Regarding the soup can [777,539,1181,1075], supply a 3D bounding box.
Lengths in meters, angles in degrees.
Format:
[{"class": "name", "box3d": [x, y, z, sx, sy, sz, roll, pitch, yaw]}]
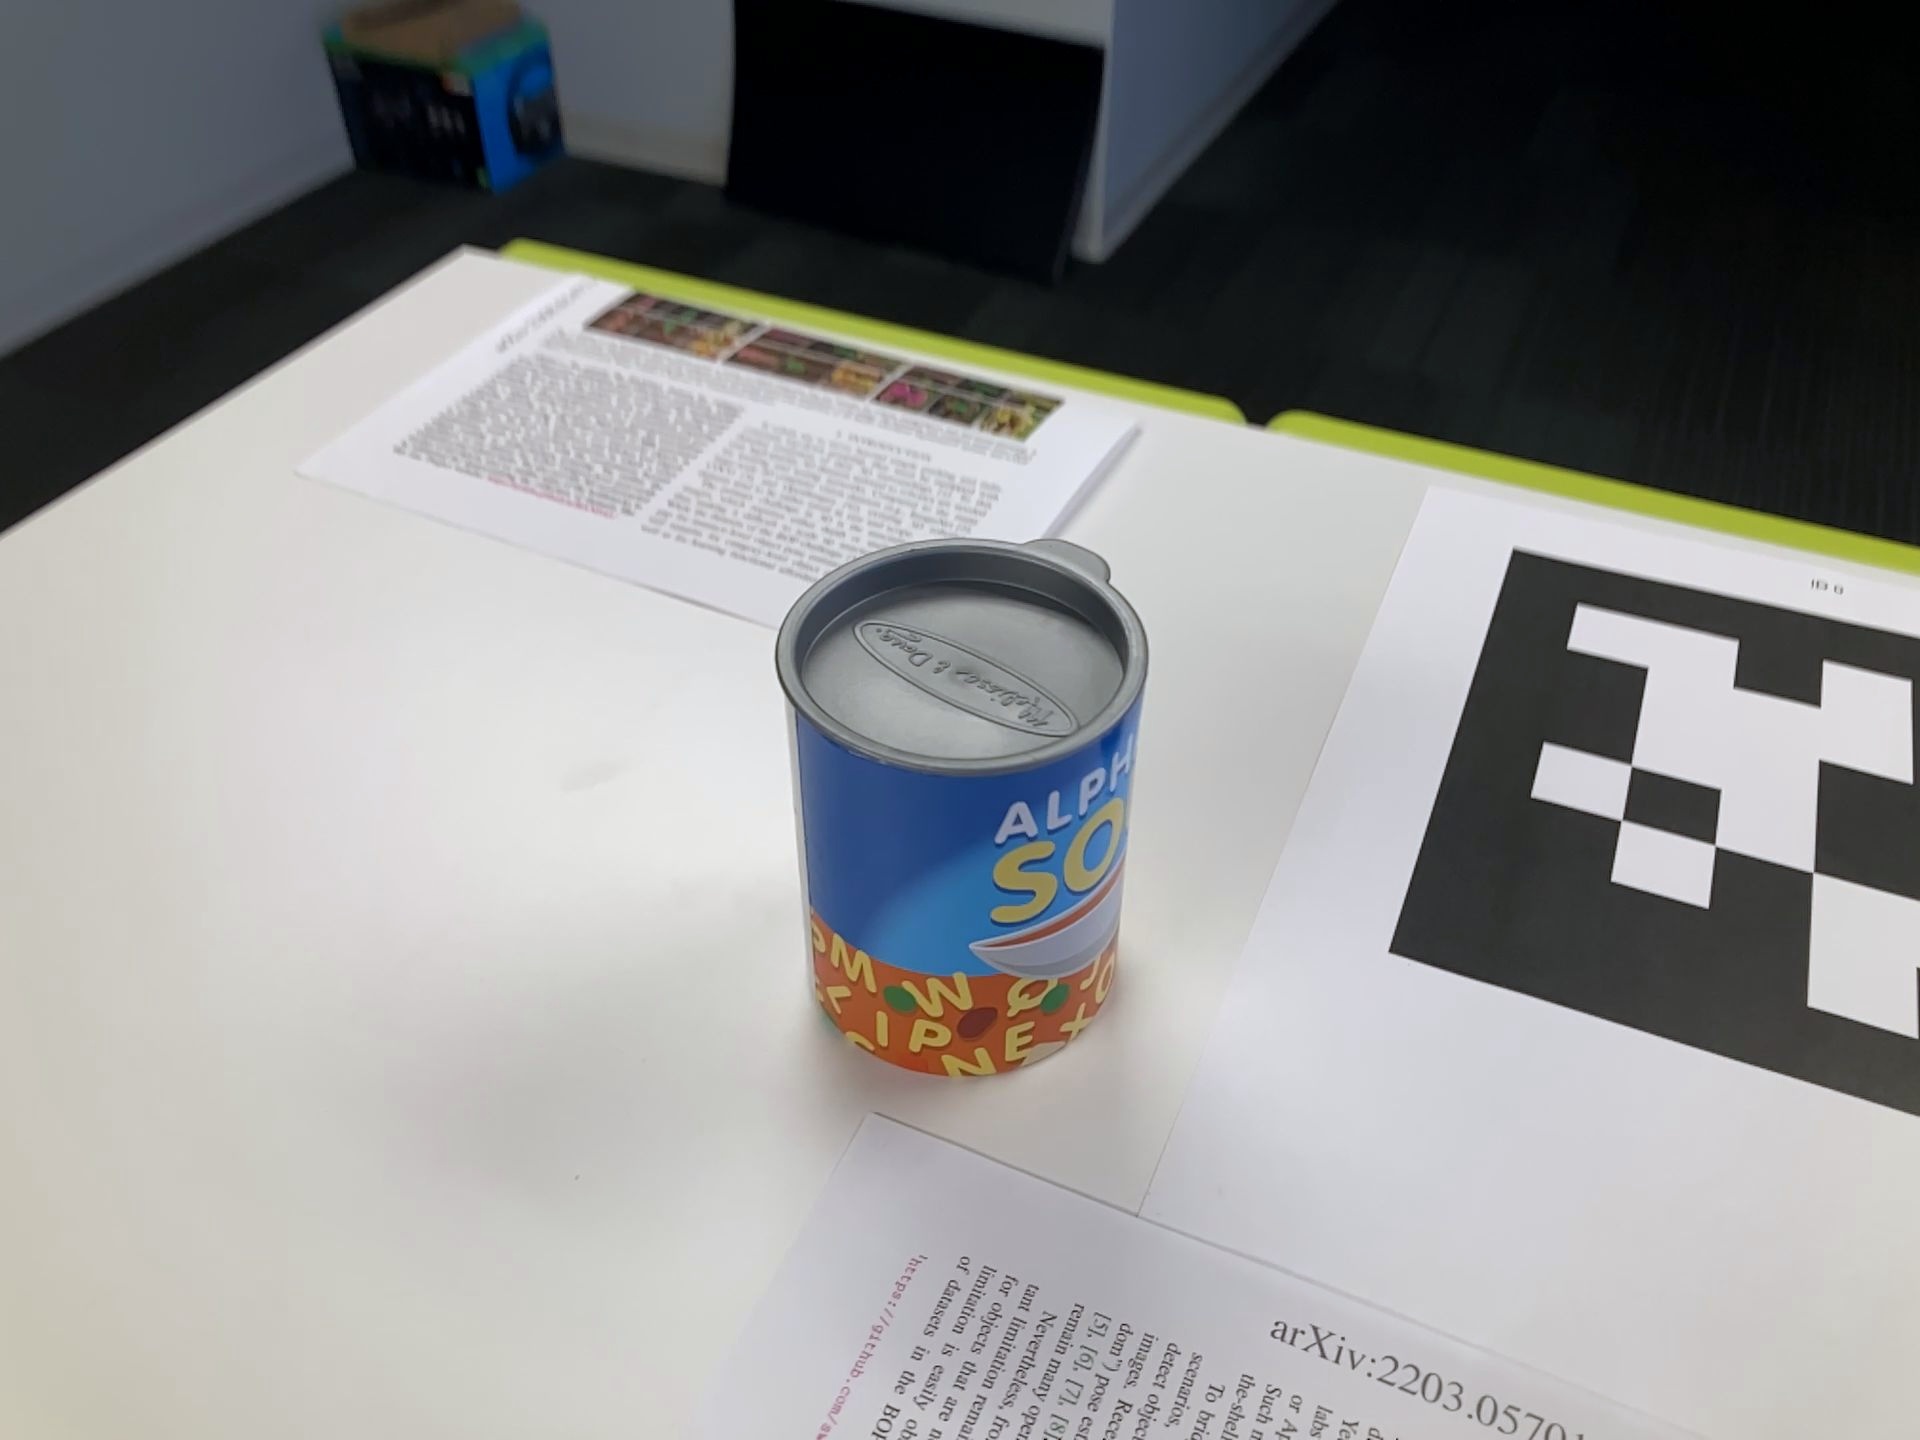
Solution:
[{"class": "soup can", "box3d": [0.003, 0.018, 0.307, 0.071, 0.084, 0.071, 0, 41, 0]}]
